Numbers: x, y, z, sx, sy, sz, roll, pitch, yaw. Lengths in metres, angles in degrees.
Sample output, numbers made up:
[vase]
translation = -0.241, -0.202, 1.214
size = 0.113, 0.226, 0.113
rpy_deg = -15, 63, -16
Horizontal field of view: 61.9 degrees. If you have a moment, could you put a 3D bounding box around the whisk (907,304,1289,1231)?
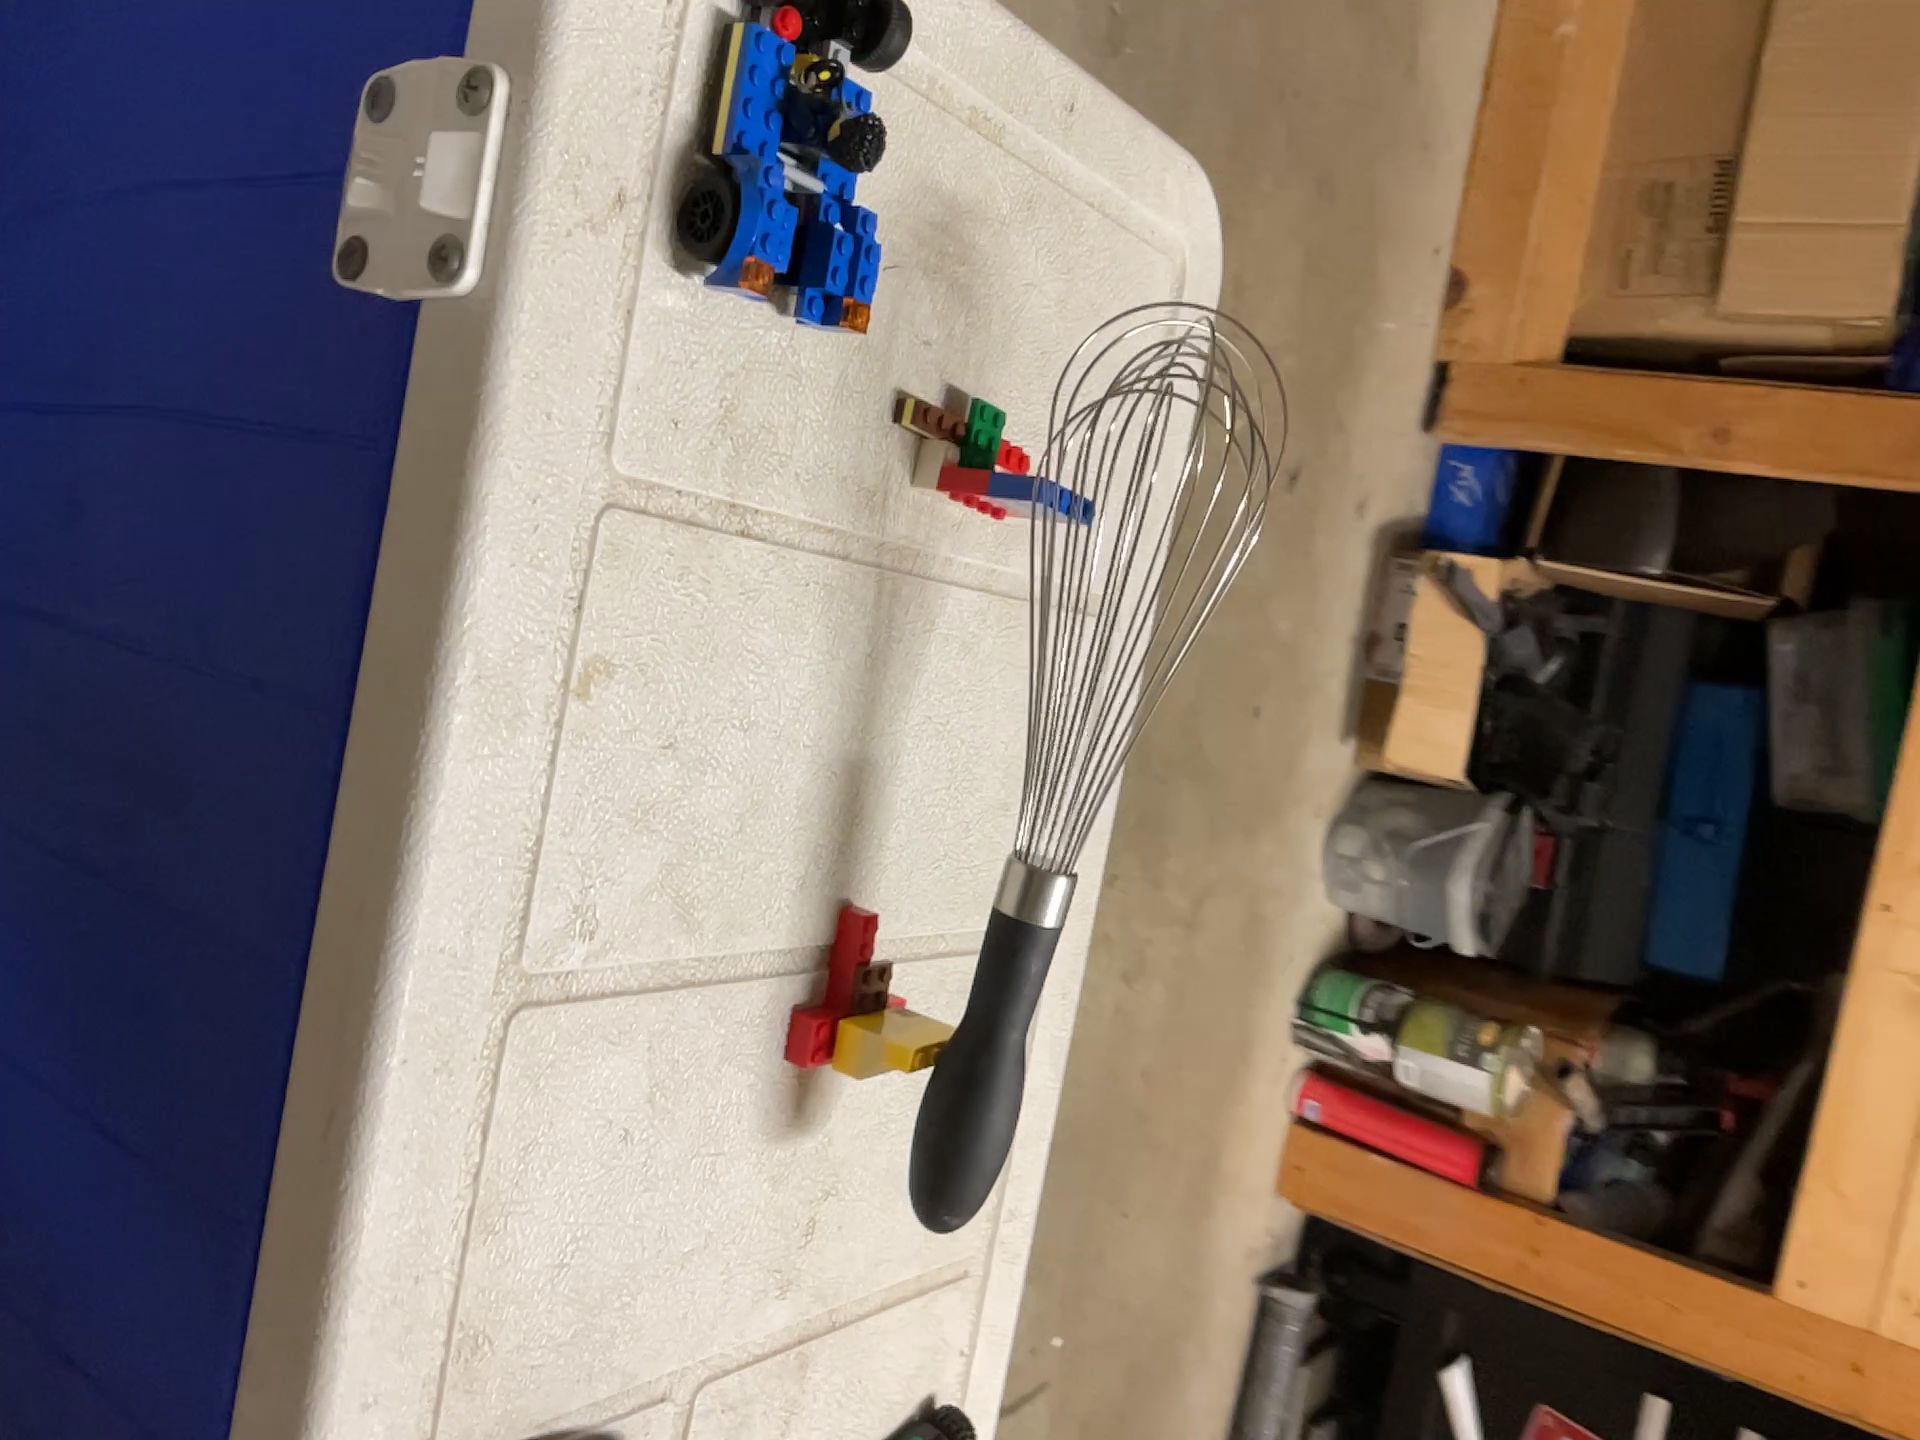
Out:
[whisk]
translation = 0.032, 0.020, 0.472
size = 0.070, 0.070, 0.284
rpy_deg = 2, 106, -60
